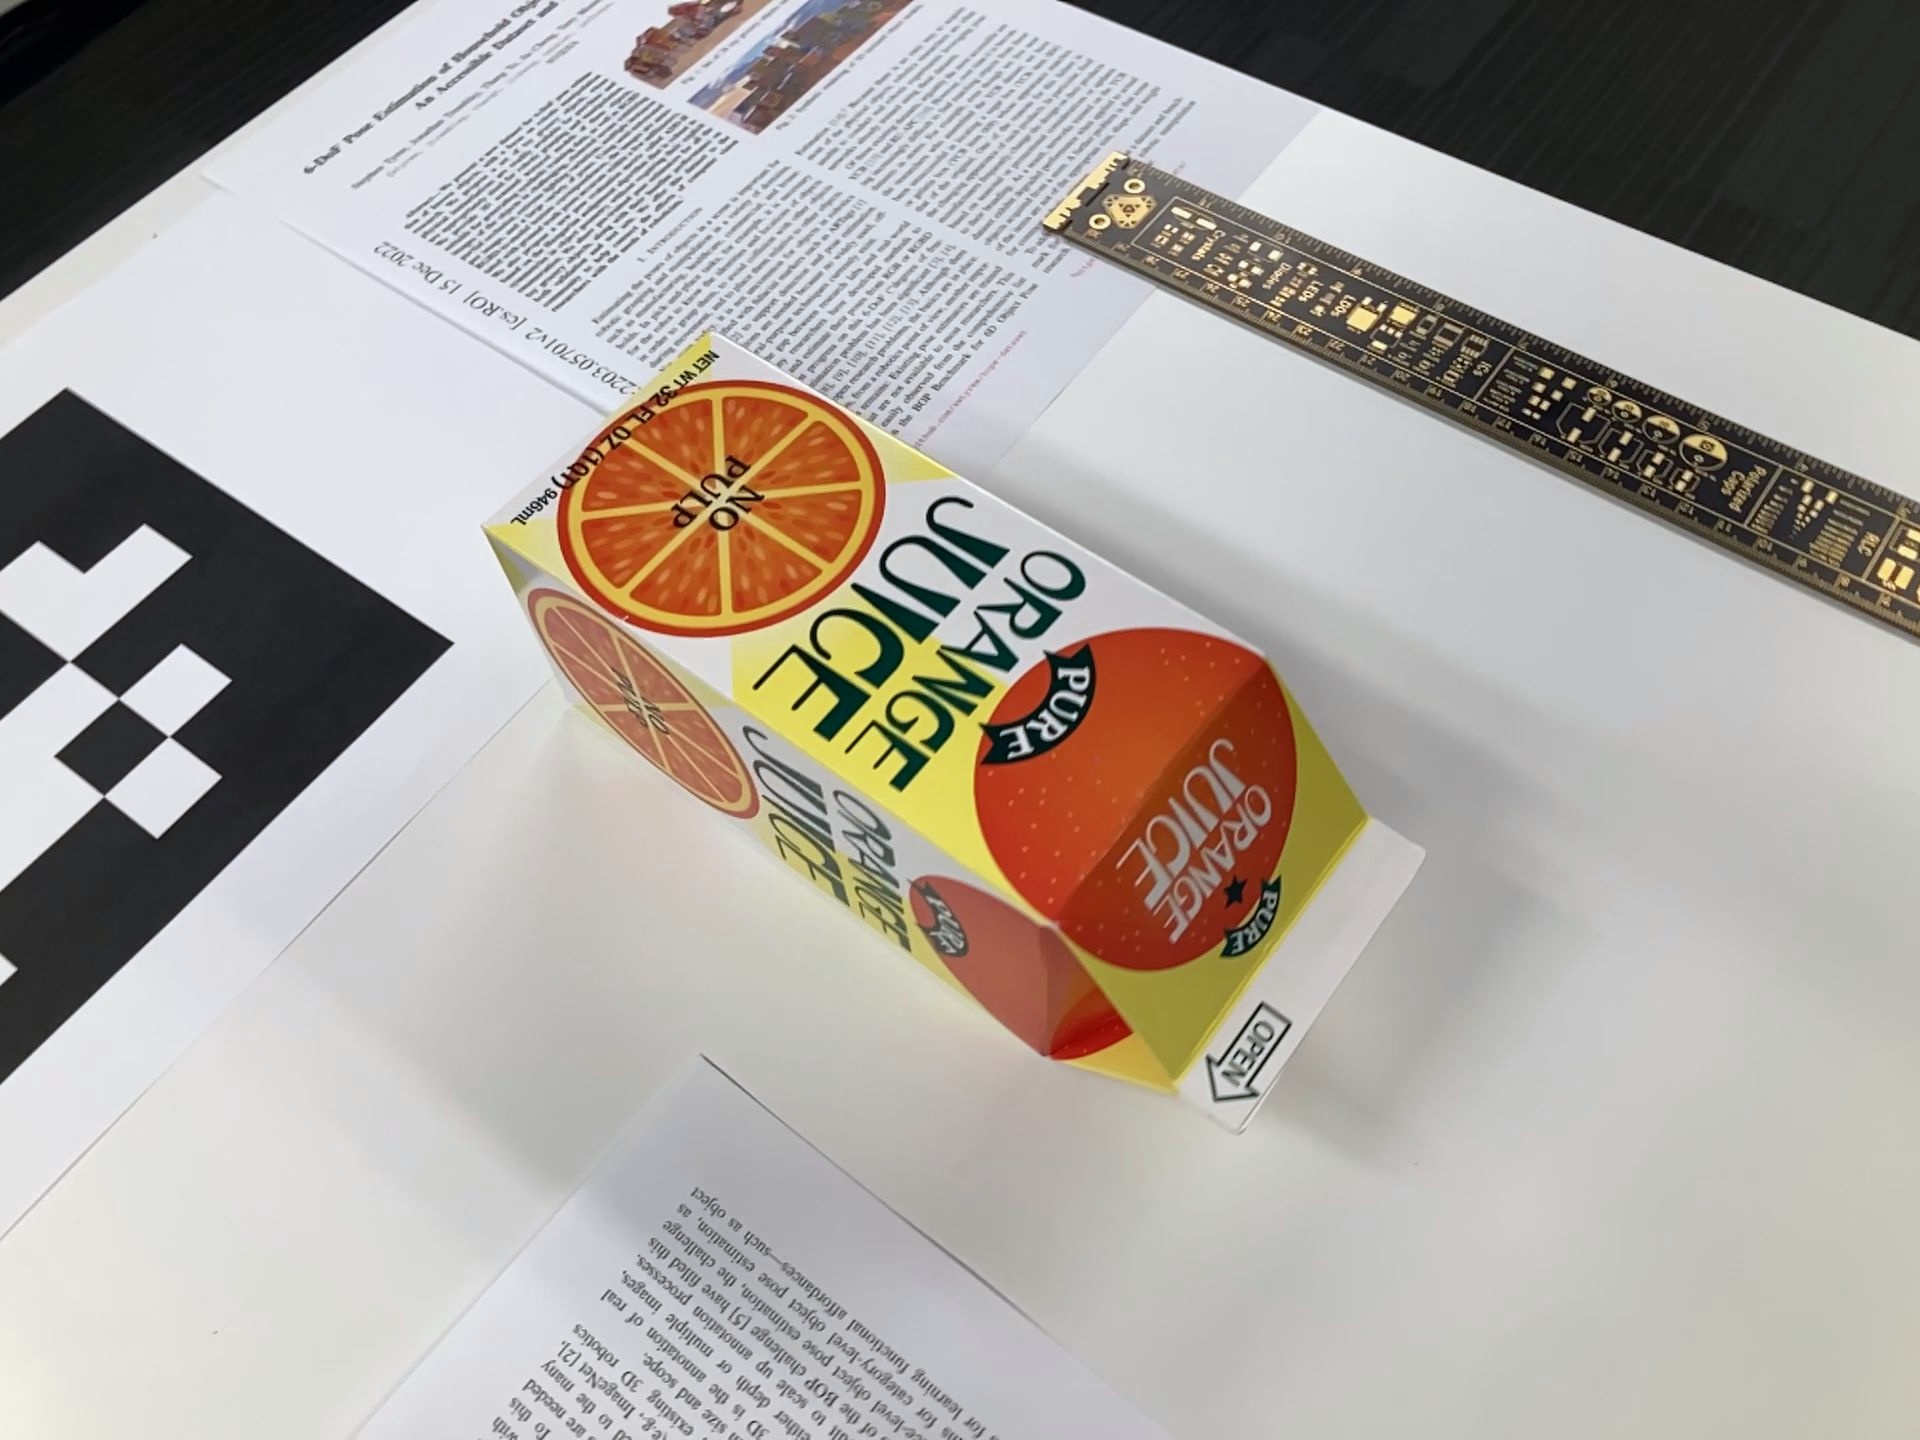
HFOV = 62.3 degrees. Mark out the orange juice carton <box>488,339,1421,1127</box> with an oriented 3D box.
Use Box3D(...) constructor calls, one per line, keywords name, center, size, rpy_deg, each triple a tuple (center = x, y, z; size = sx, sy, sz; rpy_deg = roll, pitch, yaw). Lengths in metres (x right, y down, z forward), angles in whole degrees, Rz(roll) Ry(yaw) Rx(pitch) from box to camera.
Box3D(name="orange juice carton", center=(-0.003, 0.003, 0.341), size=(0.192, 0.073, 0.072), rpy_deg=(33, 66, 22))
